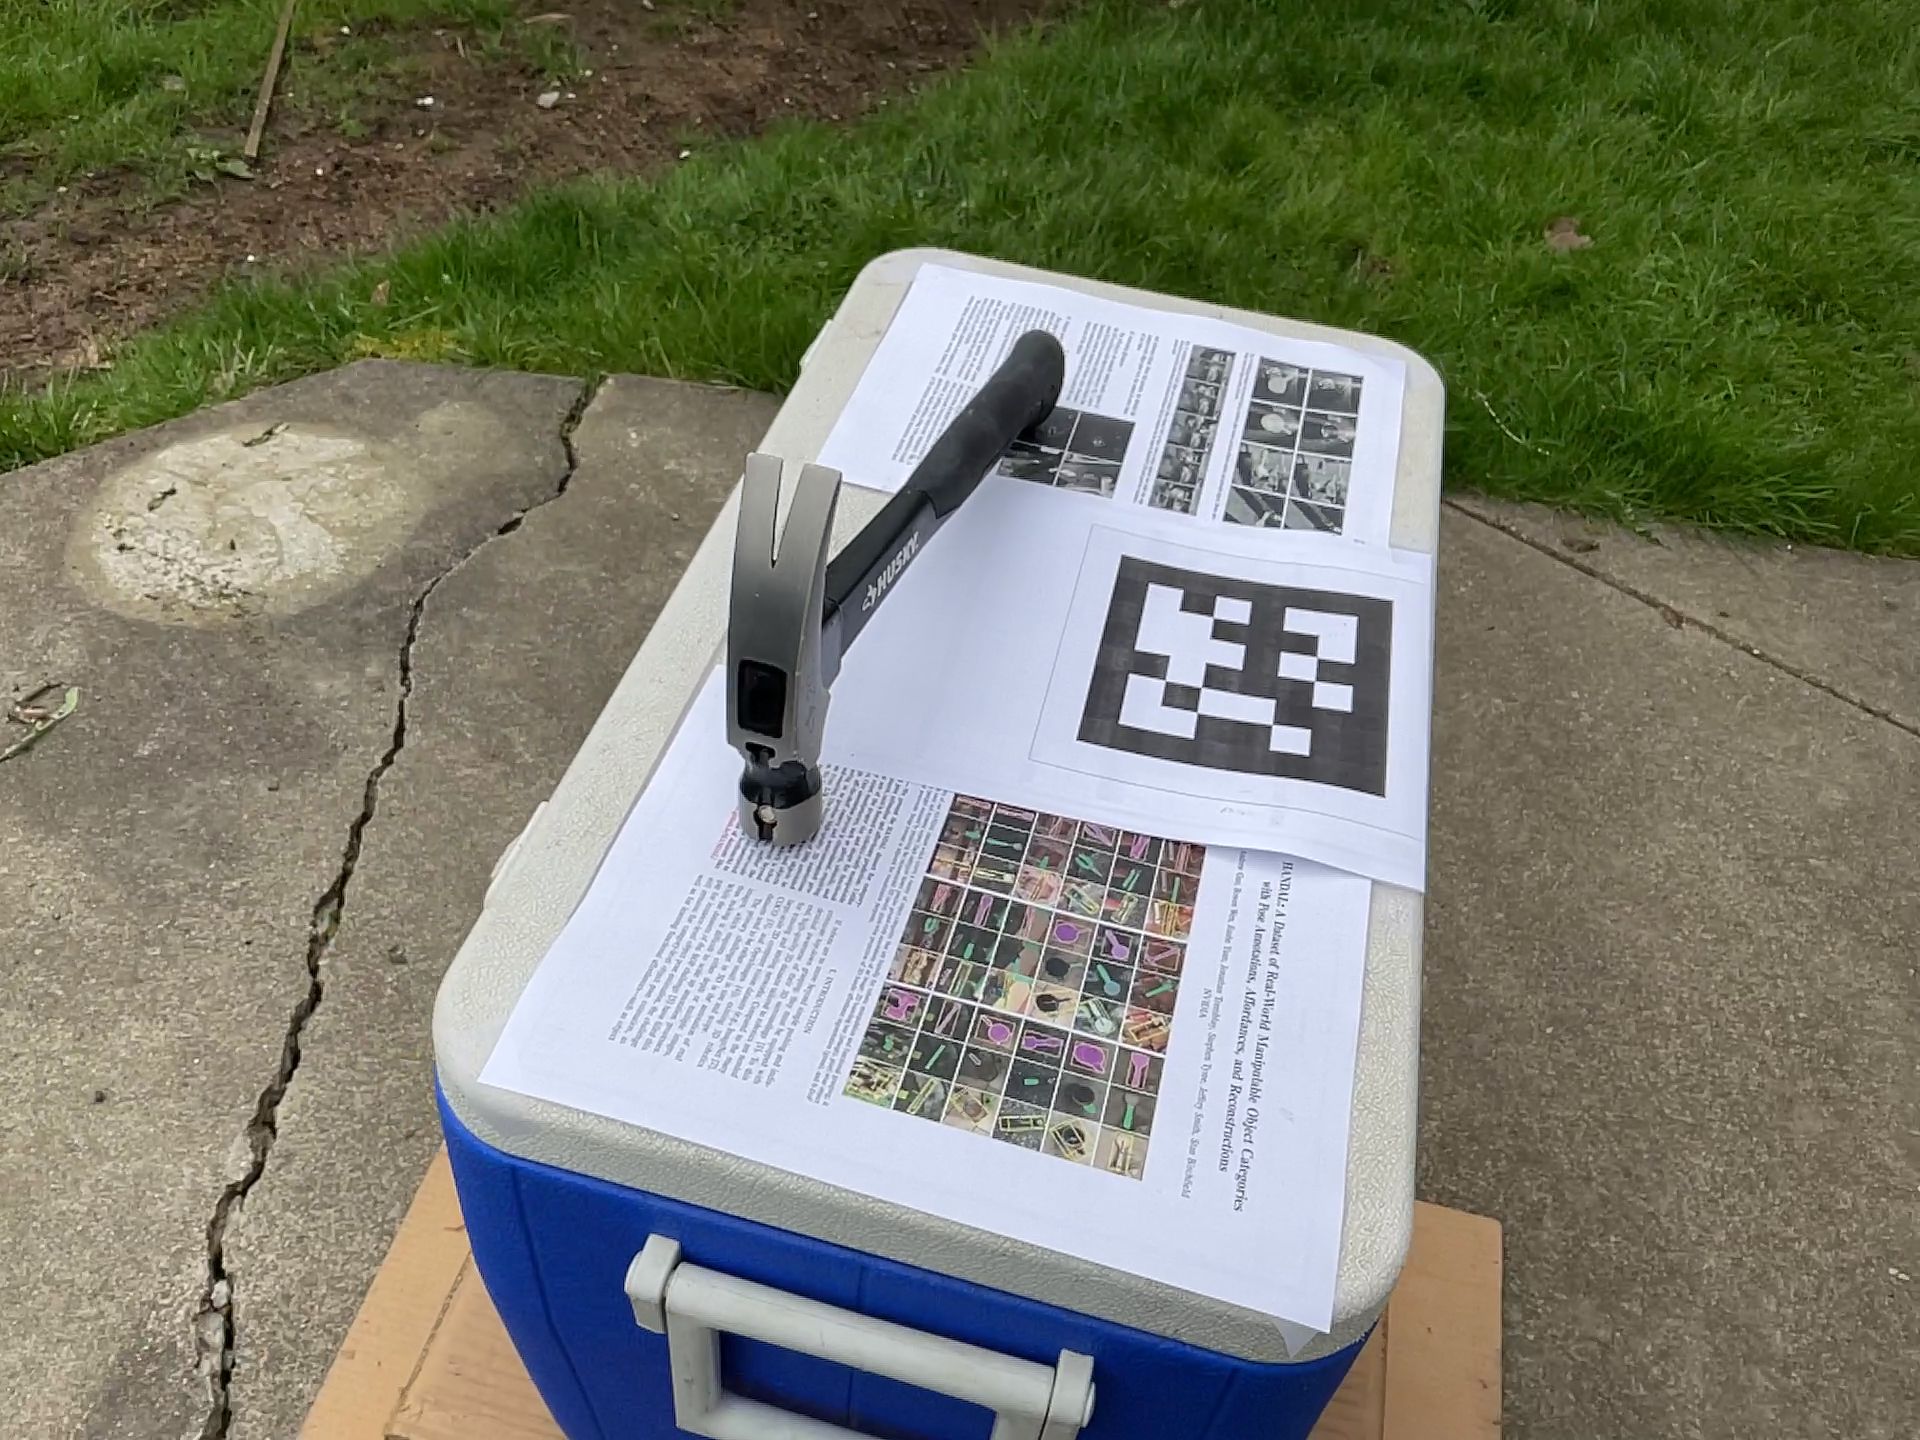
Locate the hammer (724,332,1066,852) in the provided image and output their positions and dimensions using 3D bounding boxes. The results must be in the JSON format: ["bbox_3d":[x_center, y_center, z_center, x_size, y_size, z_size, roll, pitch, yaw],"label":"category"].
[{"bbox_3d":[-0.015,-0.098,0.683,0.035,0.146,0.335,14,36,14],"label":"hammer"}]
